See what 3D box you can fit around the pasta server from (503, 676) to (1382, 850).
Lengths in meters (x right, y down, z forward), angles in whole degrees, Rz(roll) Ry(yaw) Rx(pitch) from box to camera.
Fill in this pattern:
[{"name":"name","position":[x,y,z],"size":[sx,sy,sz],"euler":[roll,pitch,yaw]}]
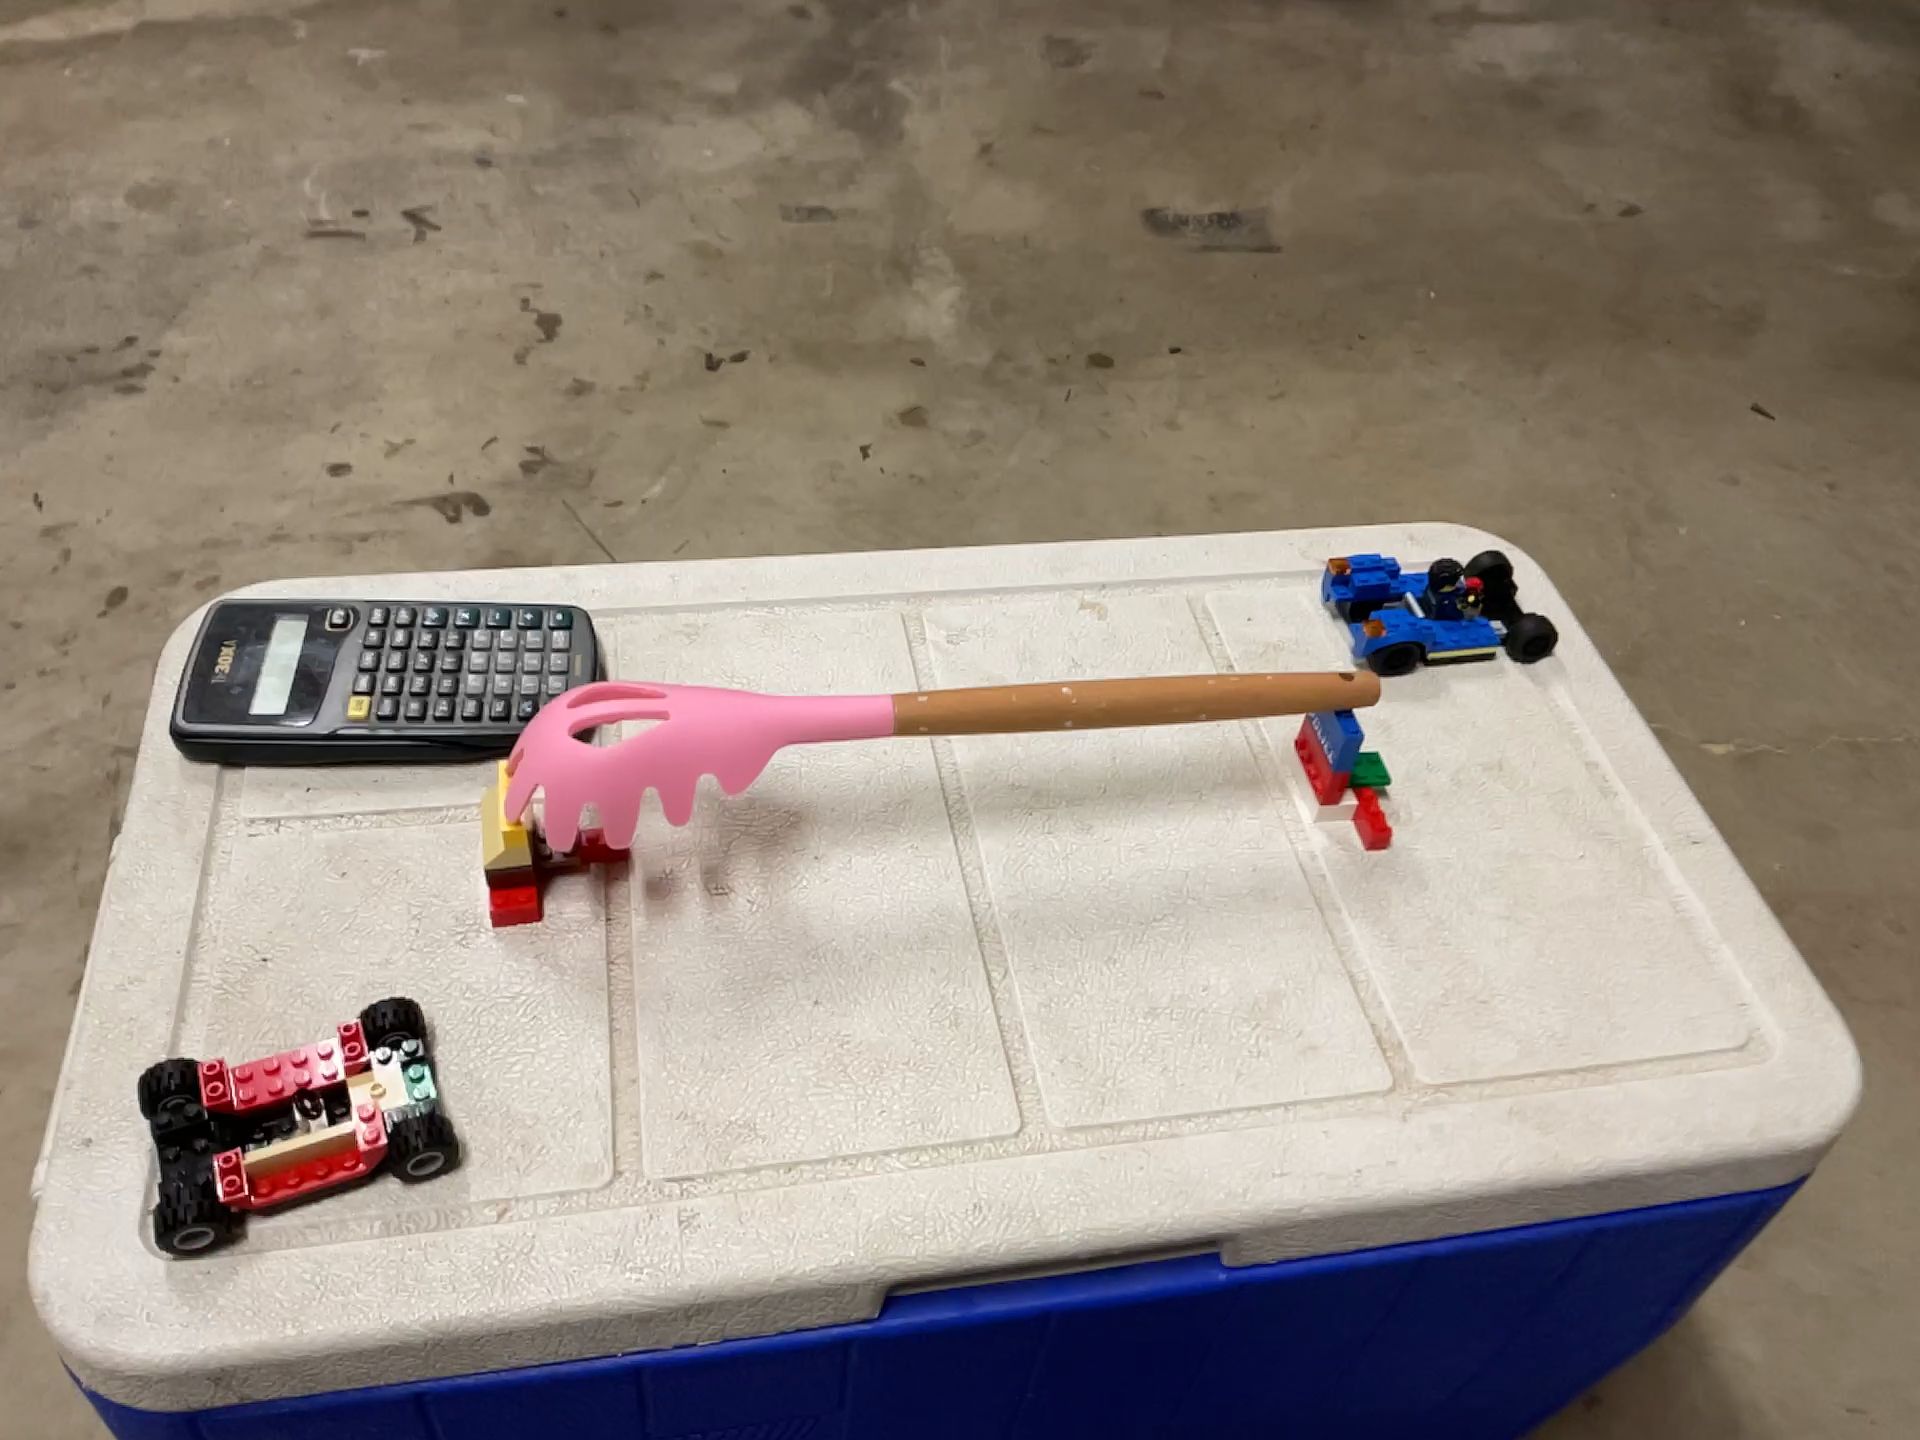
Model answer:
[{"name":"pasta server","position":[0.001,0.003,0.565],"size":[0.316,0.040,0.060],"euler":[-3,45,-14]}]
